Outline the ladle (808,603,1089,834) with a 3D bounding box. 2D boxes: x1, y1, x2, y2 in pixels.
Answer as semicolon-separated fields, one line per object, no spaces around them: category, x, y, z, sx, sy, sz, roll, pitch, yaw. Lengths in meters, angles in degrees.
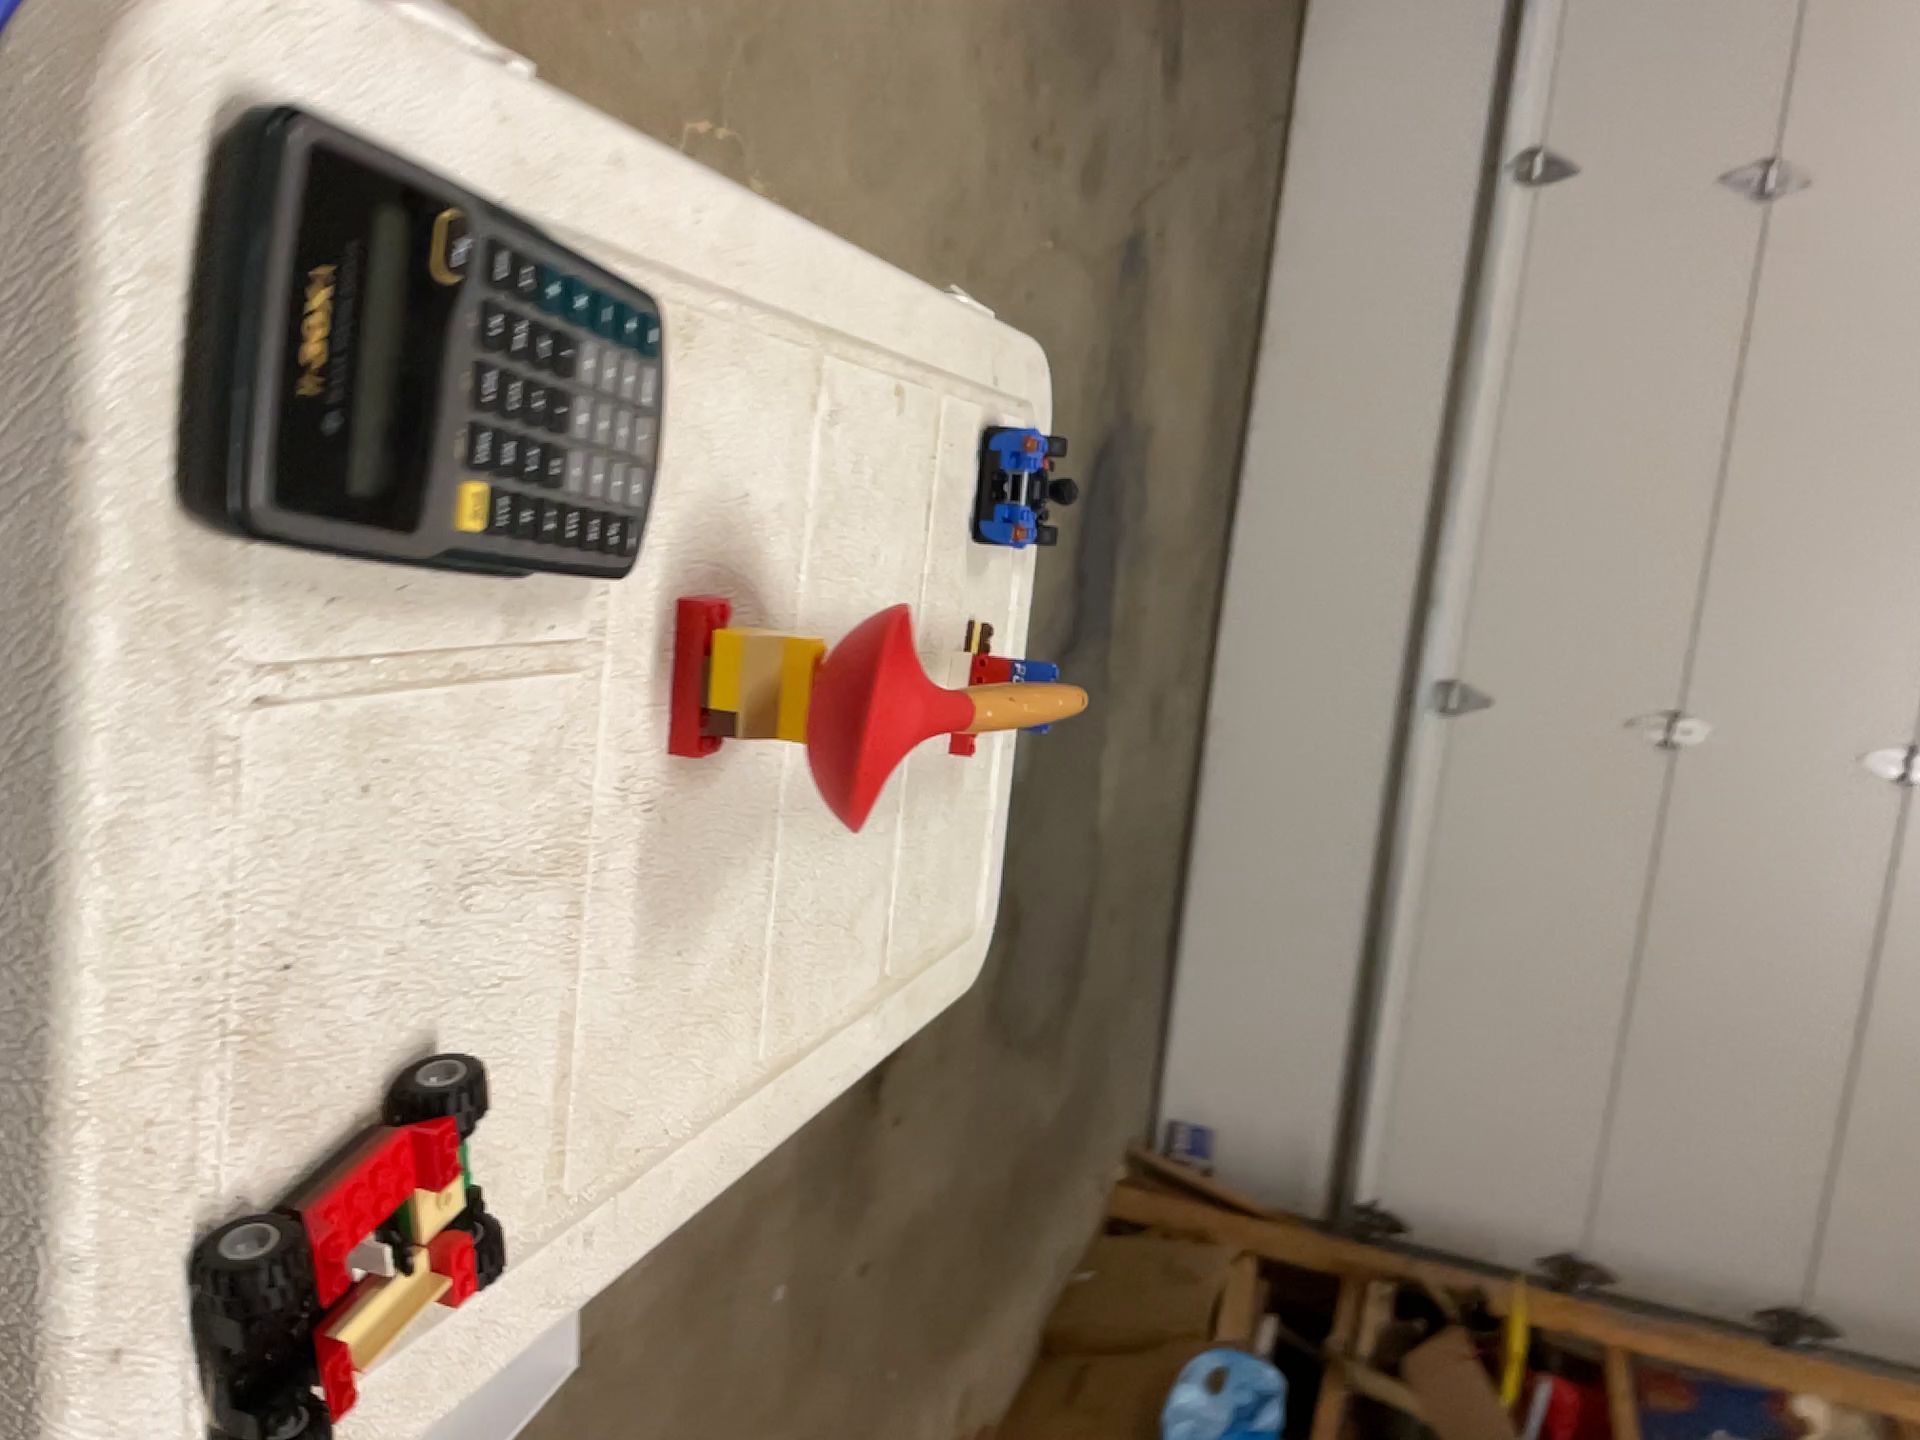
ladle;0.008;-0.005;0.584;0.315;0.031;0.069;-5;108;-73
